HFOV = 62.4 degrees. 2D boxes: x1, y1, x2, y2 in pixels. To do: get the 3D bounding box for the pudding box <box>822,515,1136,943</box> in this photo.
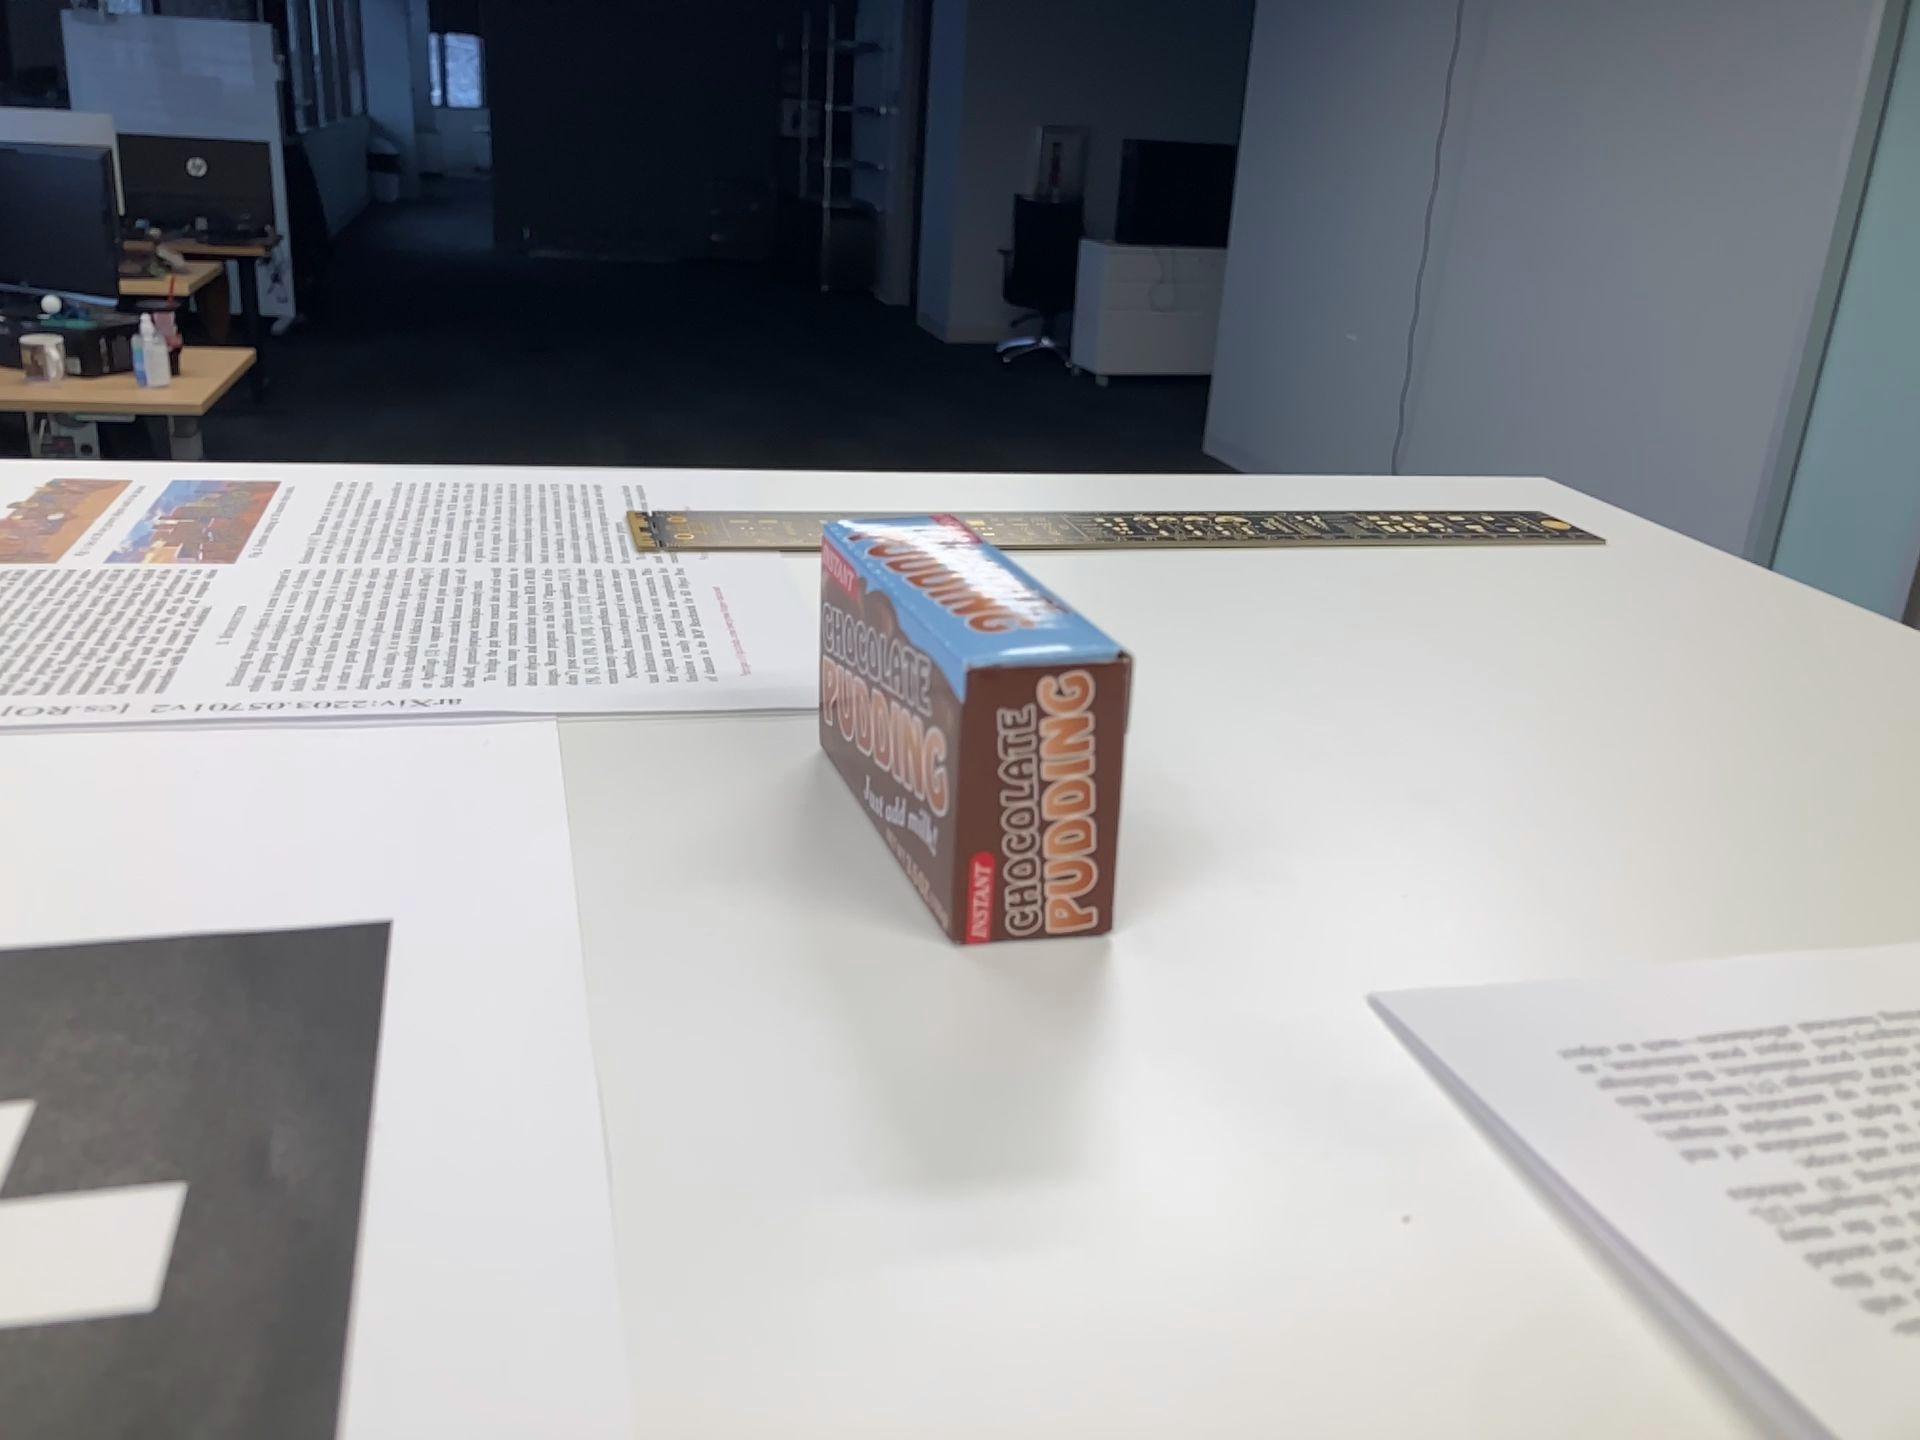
[{"bbox_3d":[0.000,-0.003,0.280,0.030,0.049,0.083,-5,24,-19],"label":"pudding box"}]
